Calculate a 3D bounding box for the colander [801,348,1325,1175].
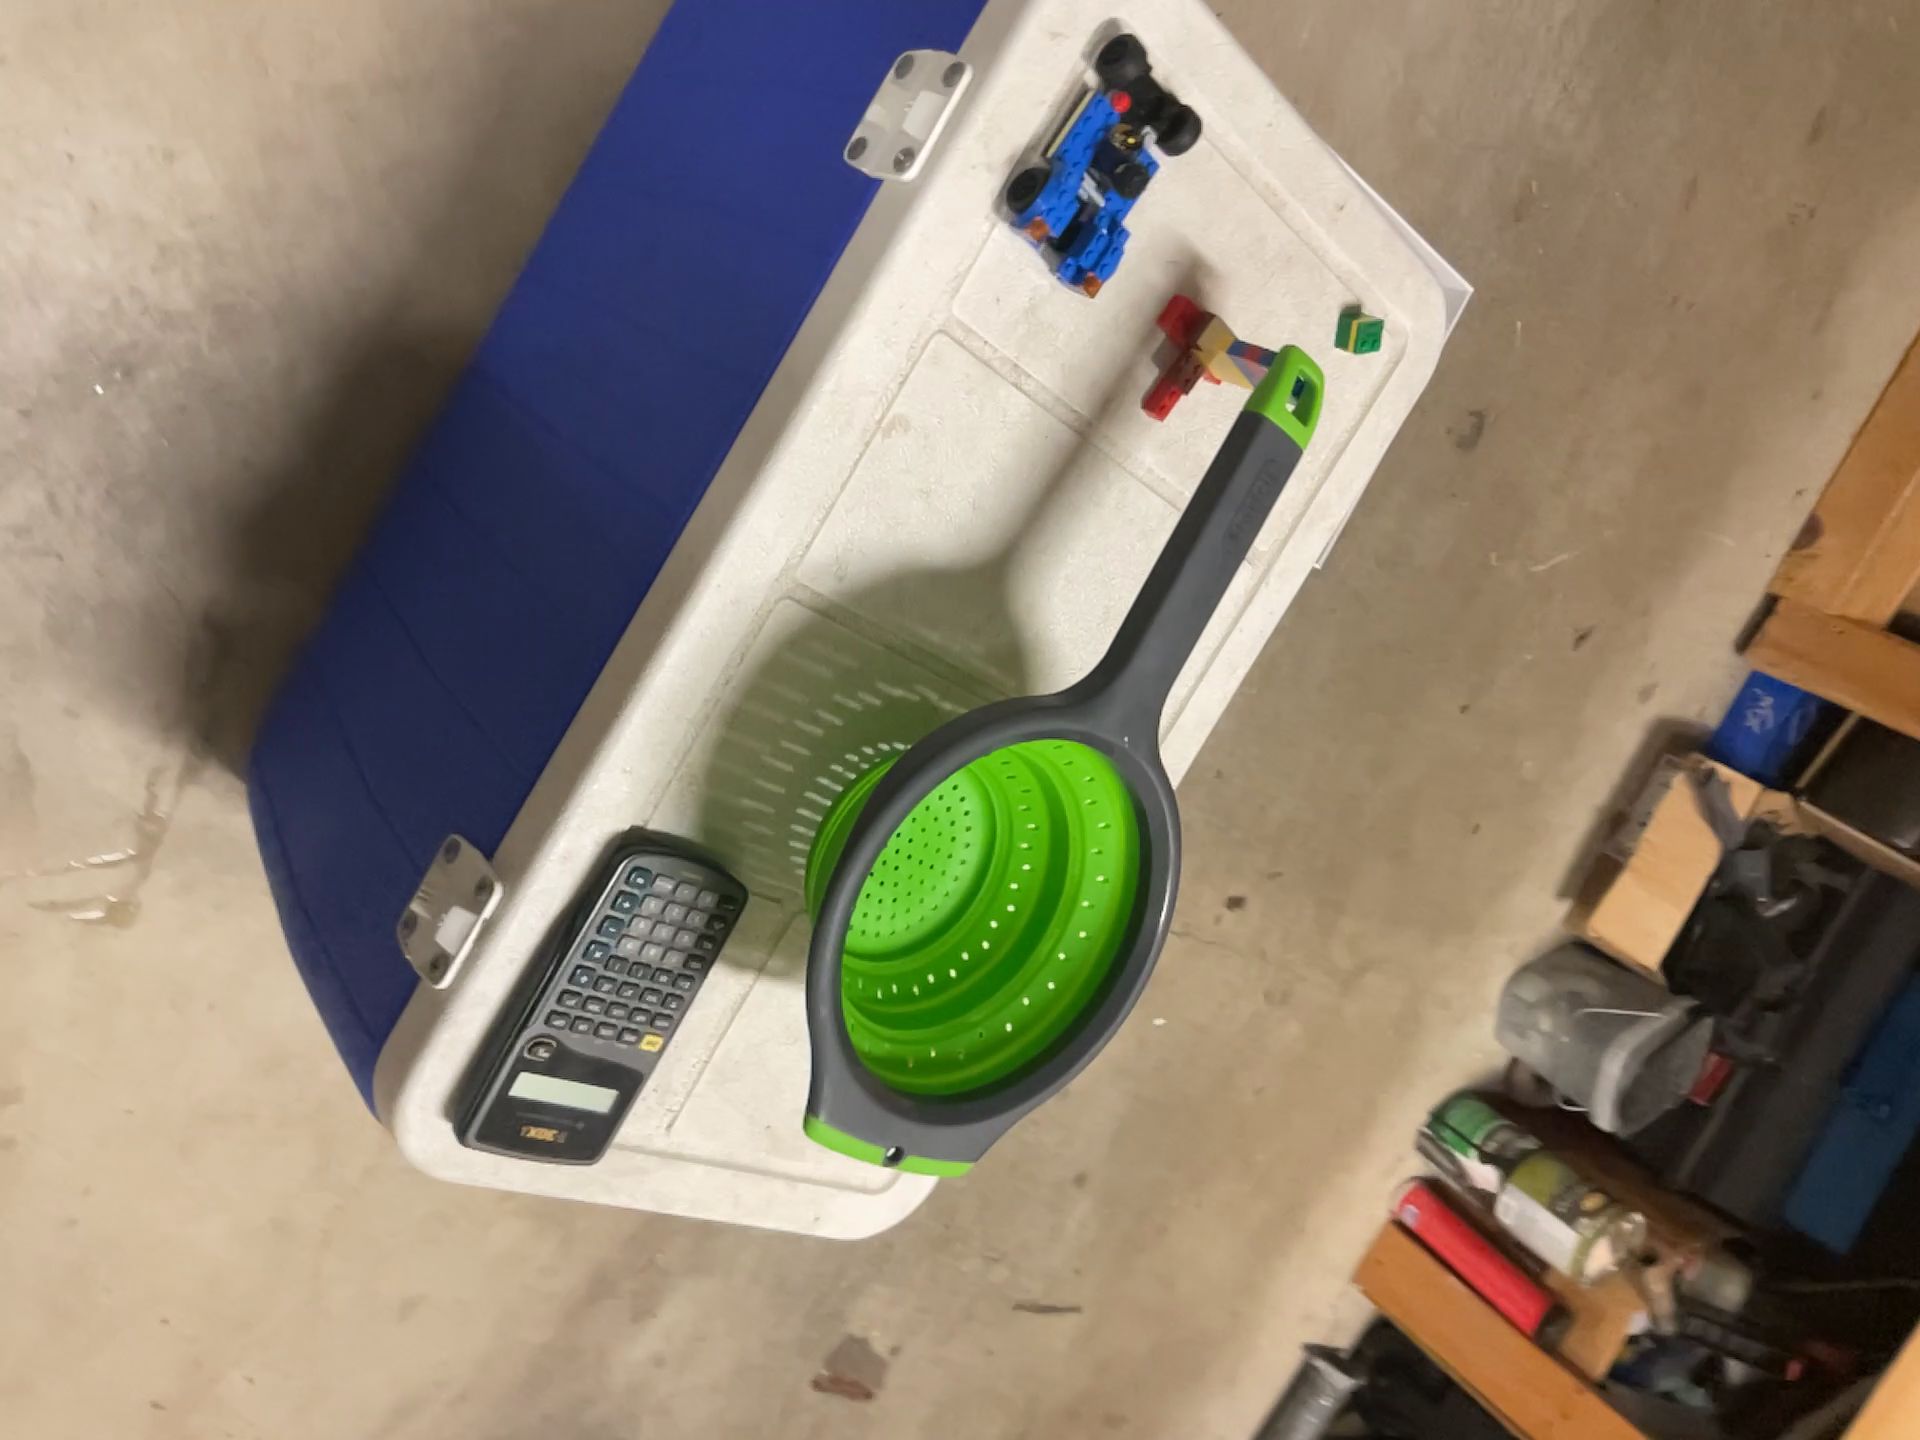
[{"bbox_3d":[0.037,0.006,0.724,0.204,0.094,0.397,30,89,-41],"label":"colander"}]
